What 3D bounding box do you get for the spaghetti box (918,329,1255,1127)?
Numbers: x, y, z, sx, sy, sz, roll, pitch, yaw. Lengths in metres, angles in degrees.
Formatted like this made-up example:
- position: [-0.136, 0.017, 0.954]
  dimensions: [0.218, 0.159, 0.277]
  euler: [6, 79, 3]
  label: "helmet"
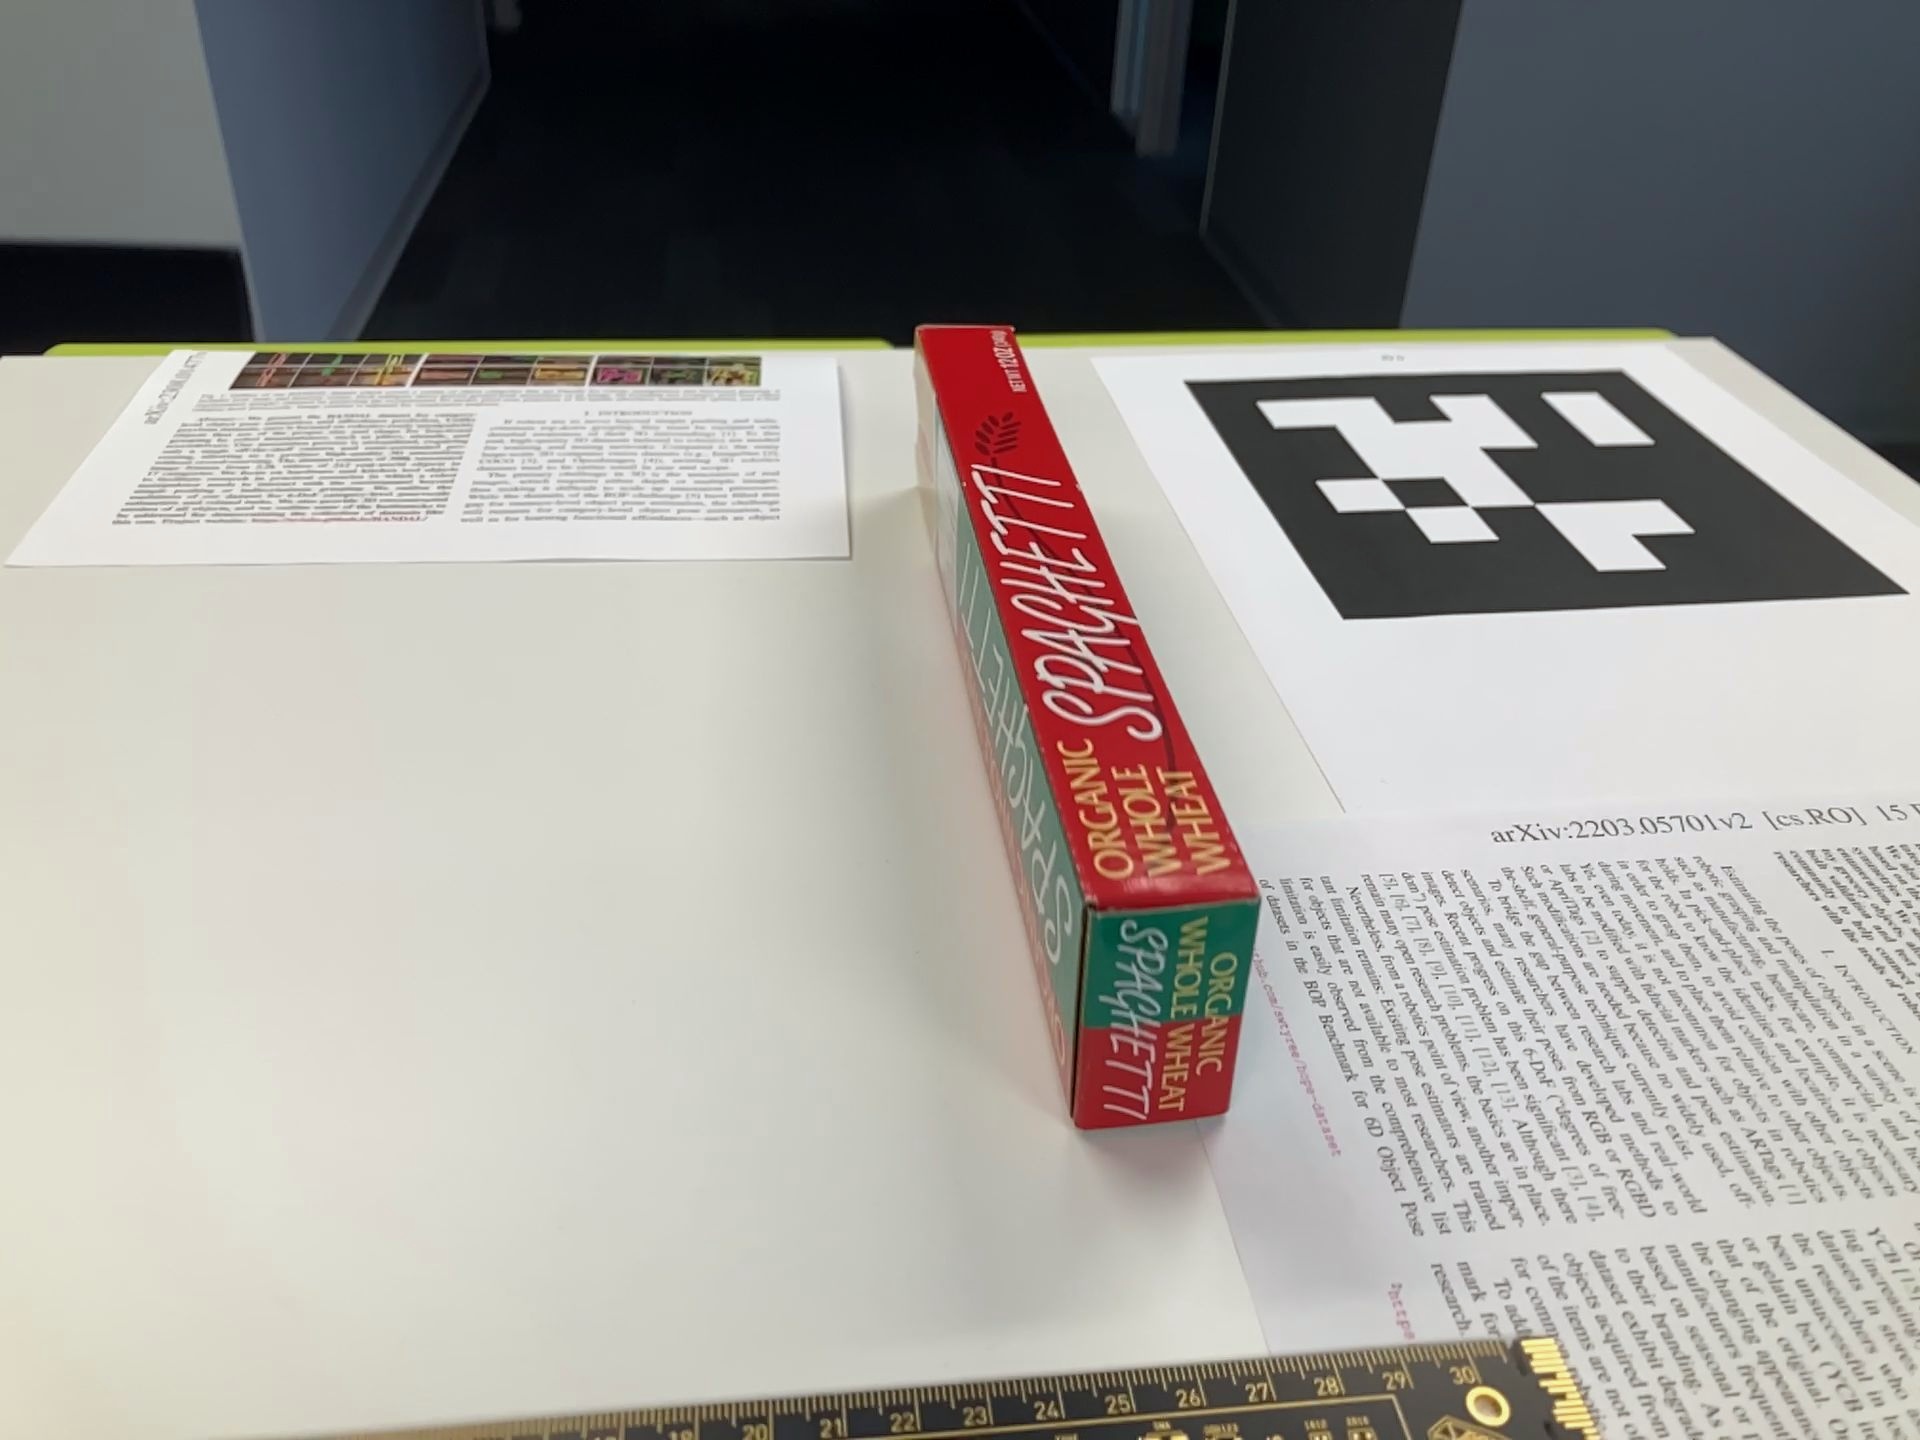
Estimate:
- position: [0.017, -0.020, 0.355]
  dimensions: [0.028, 0.050, 0.250]
  euler: [-4, 34, -6]
  label: "spaghetti box"
